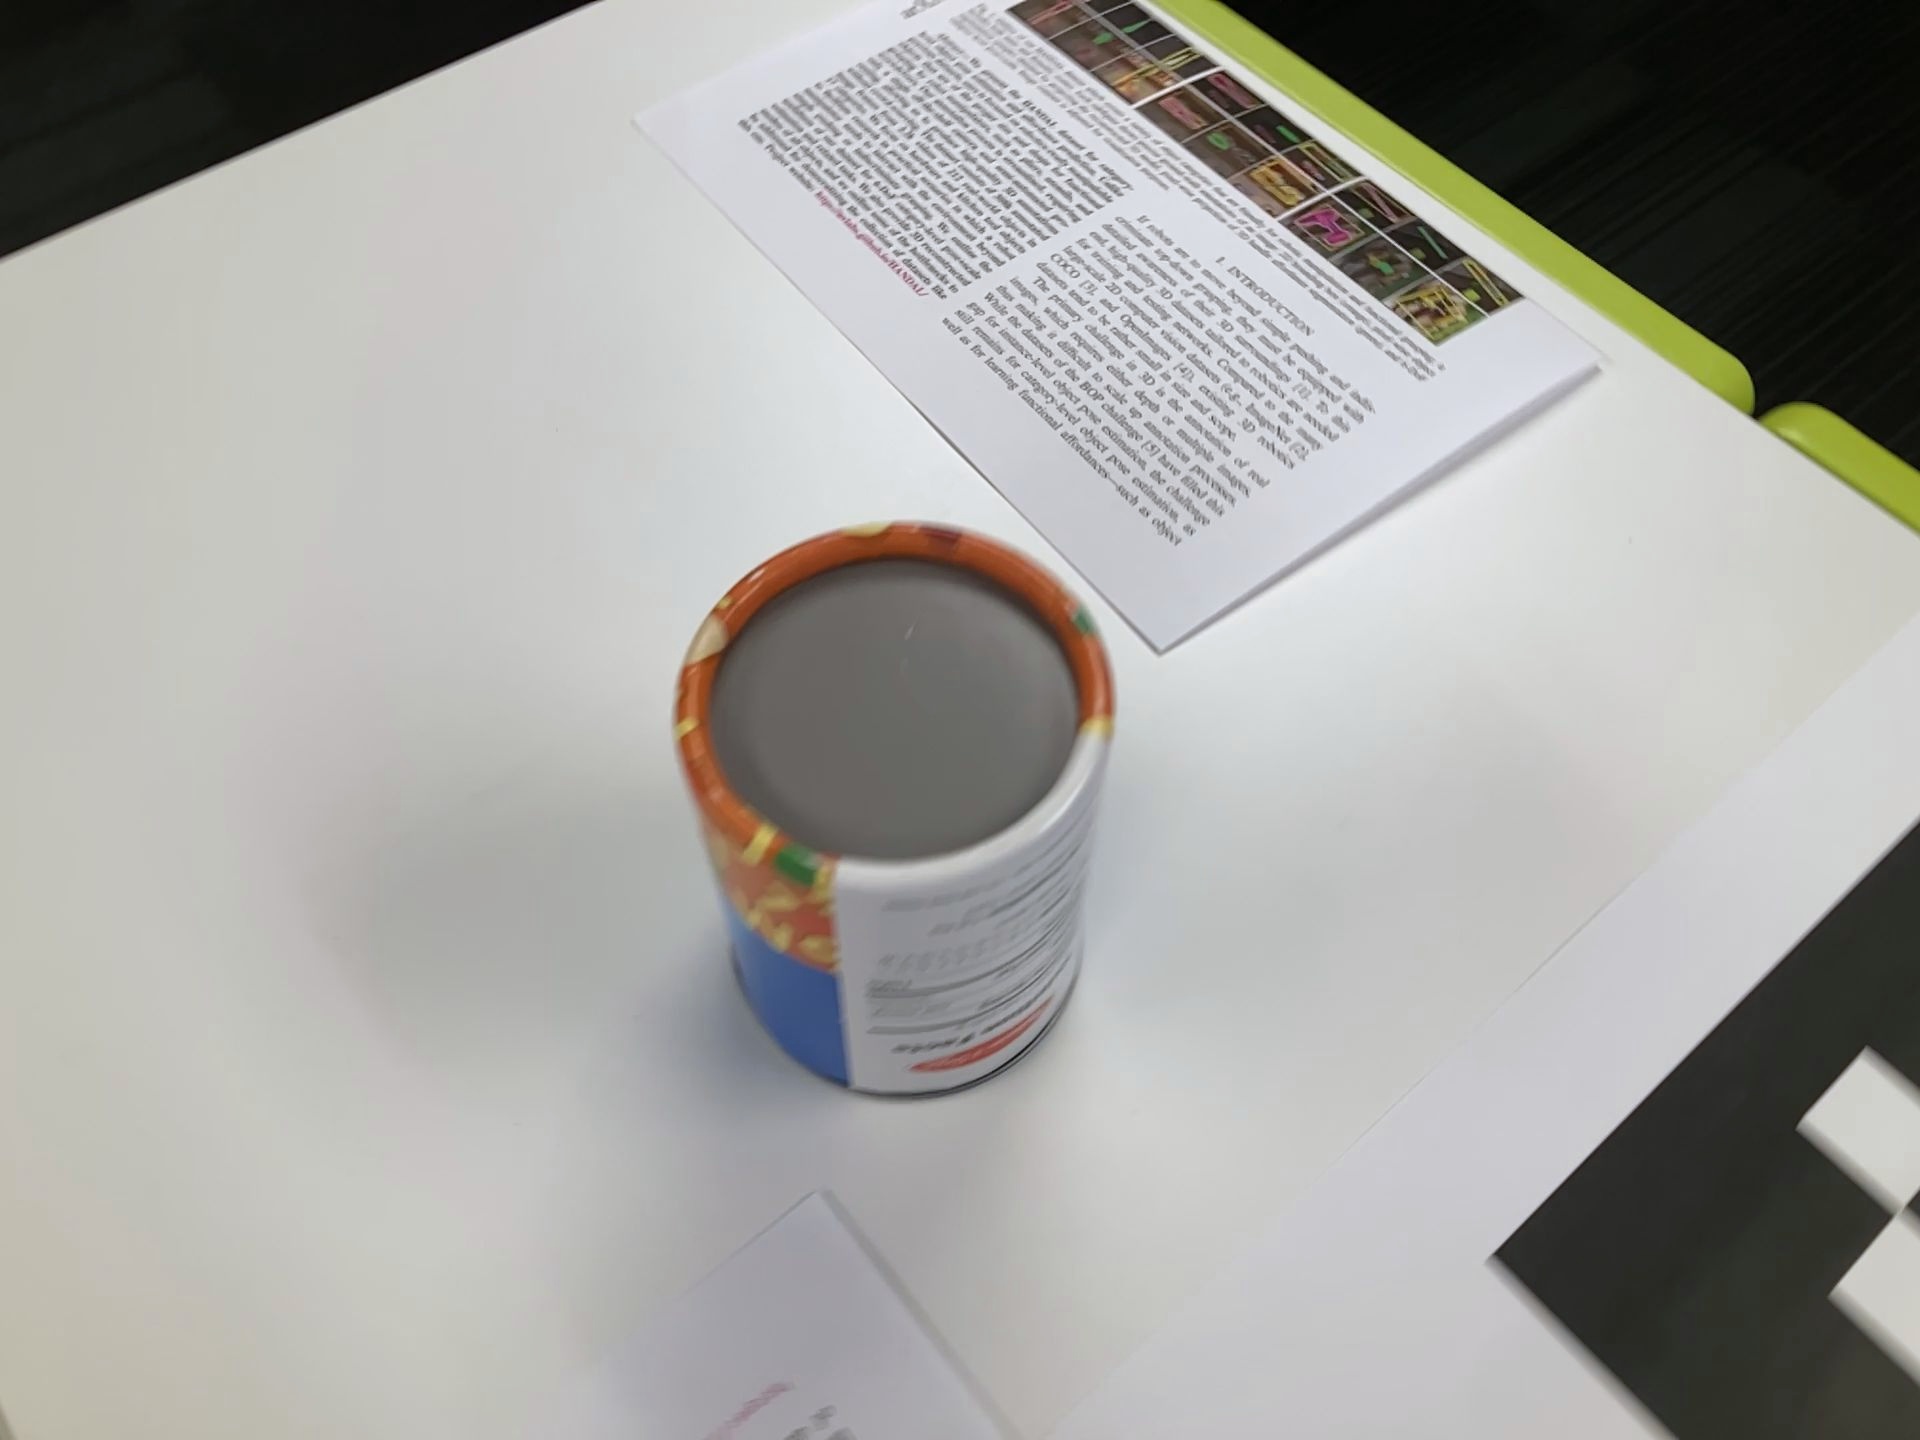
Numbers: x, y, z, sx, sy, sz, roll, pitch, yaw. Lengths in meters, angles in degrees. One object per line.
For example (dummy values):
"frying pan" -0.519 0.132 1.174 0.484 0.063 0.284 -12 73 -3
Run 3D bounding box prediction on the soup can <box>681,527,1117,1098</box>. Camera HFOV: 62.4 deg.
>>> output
"soup can" -0.011 0.016 0.271 0.071 0.084 0.071 0 57 -1
